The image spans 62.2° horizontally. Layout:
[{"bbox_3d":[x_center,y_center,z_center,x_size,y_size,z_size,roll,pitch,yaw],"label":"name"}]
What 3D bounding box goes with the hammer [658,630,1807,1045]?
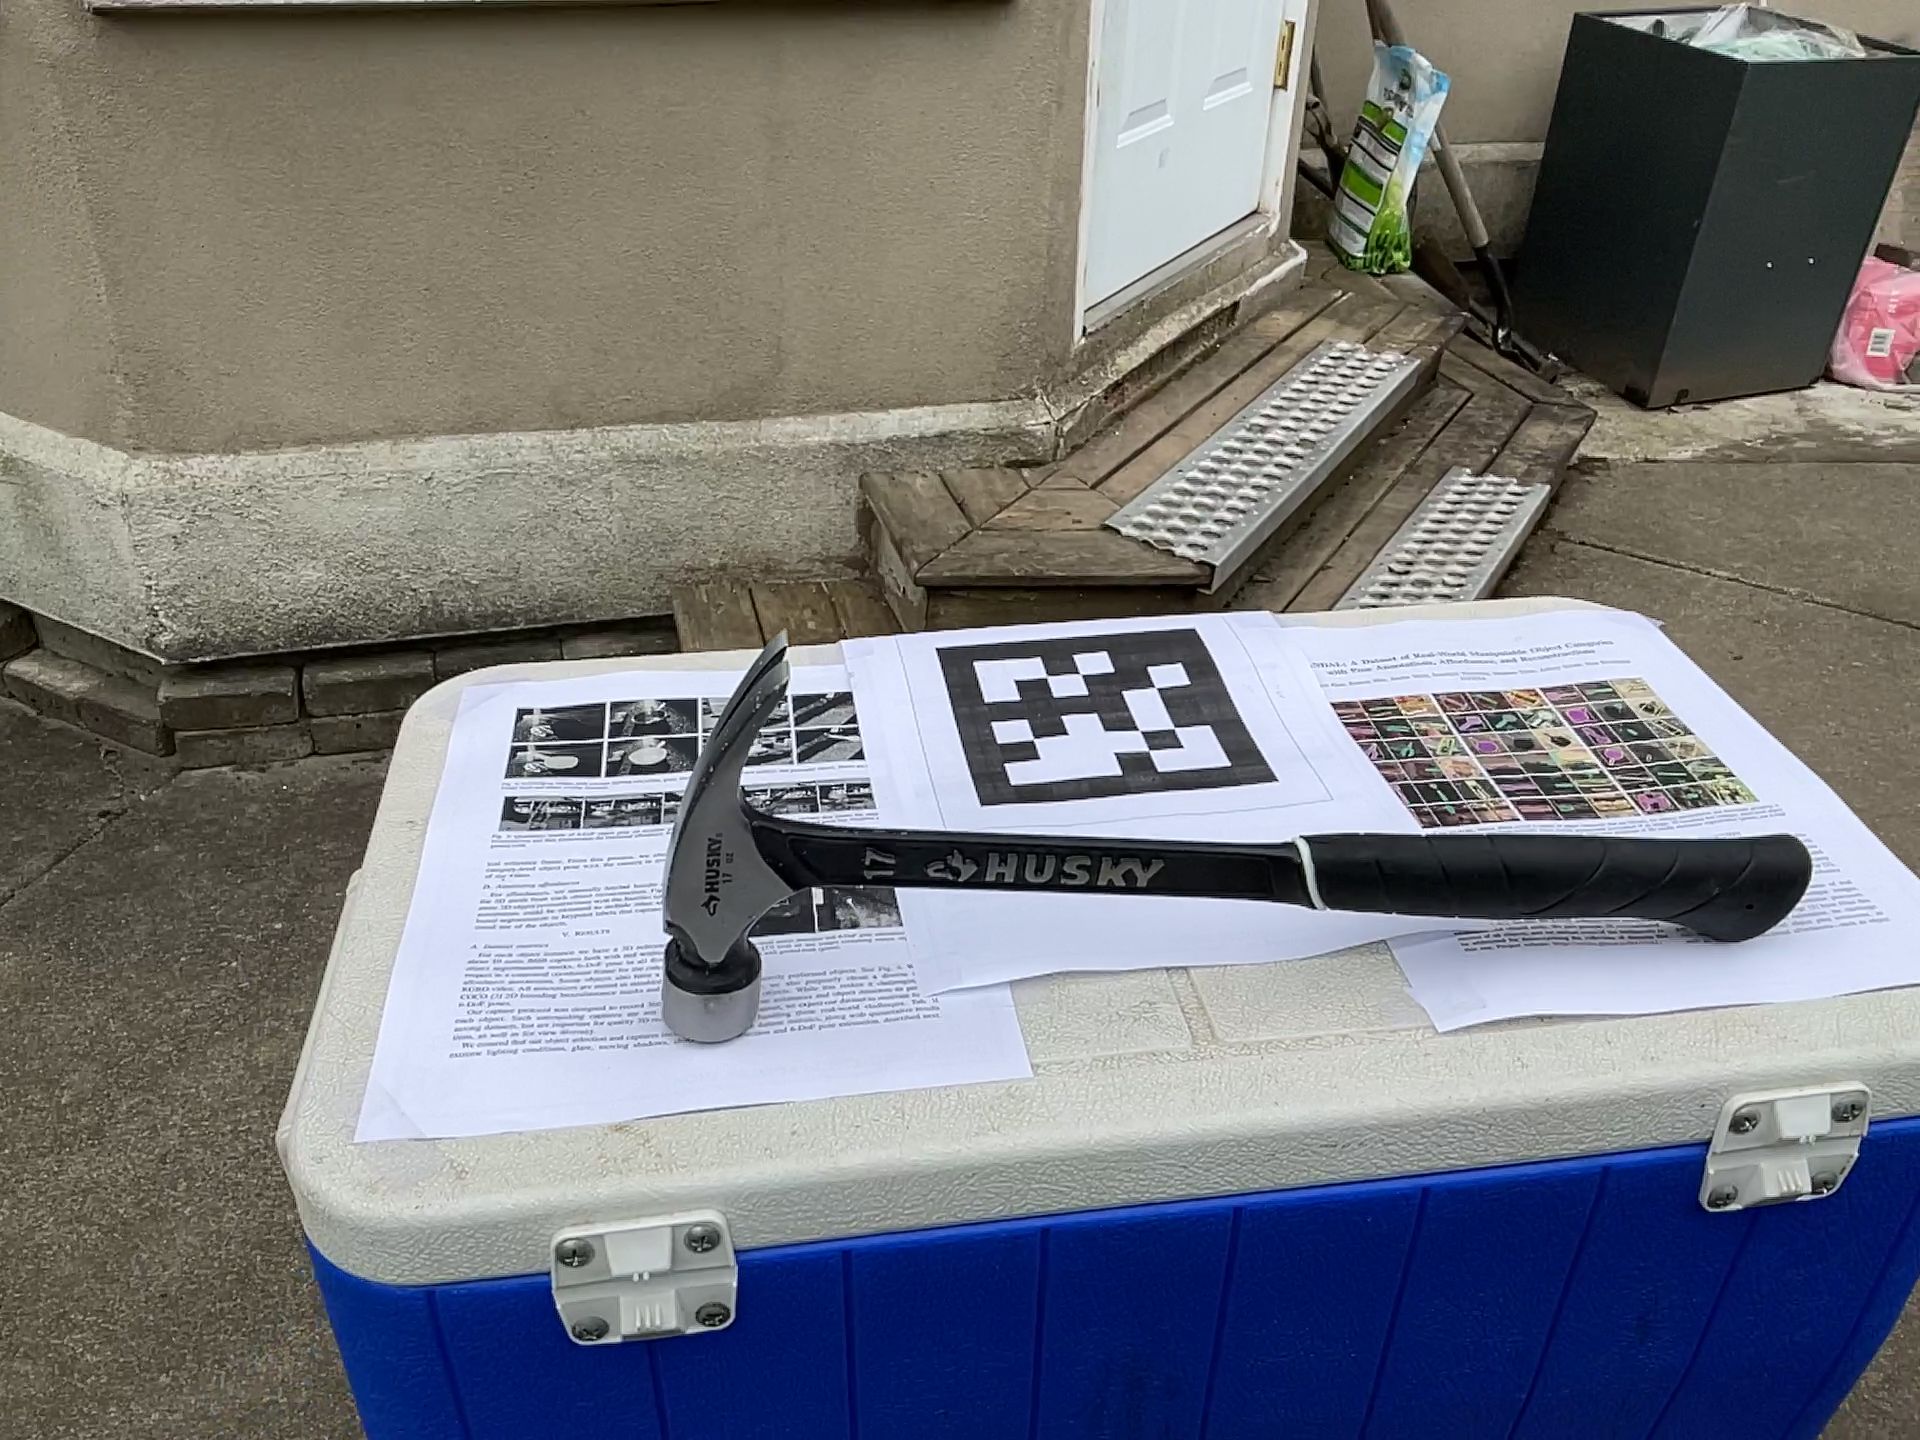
[{"bbox_3d":[0.103,0.048,0.553,0.408,0.149,0.036,2,32,-10],"label":"hammer"}]
